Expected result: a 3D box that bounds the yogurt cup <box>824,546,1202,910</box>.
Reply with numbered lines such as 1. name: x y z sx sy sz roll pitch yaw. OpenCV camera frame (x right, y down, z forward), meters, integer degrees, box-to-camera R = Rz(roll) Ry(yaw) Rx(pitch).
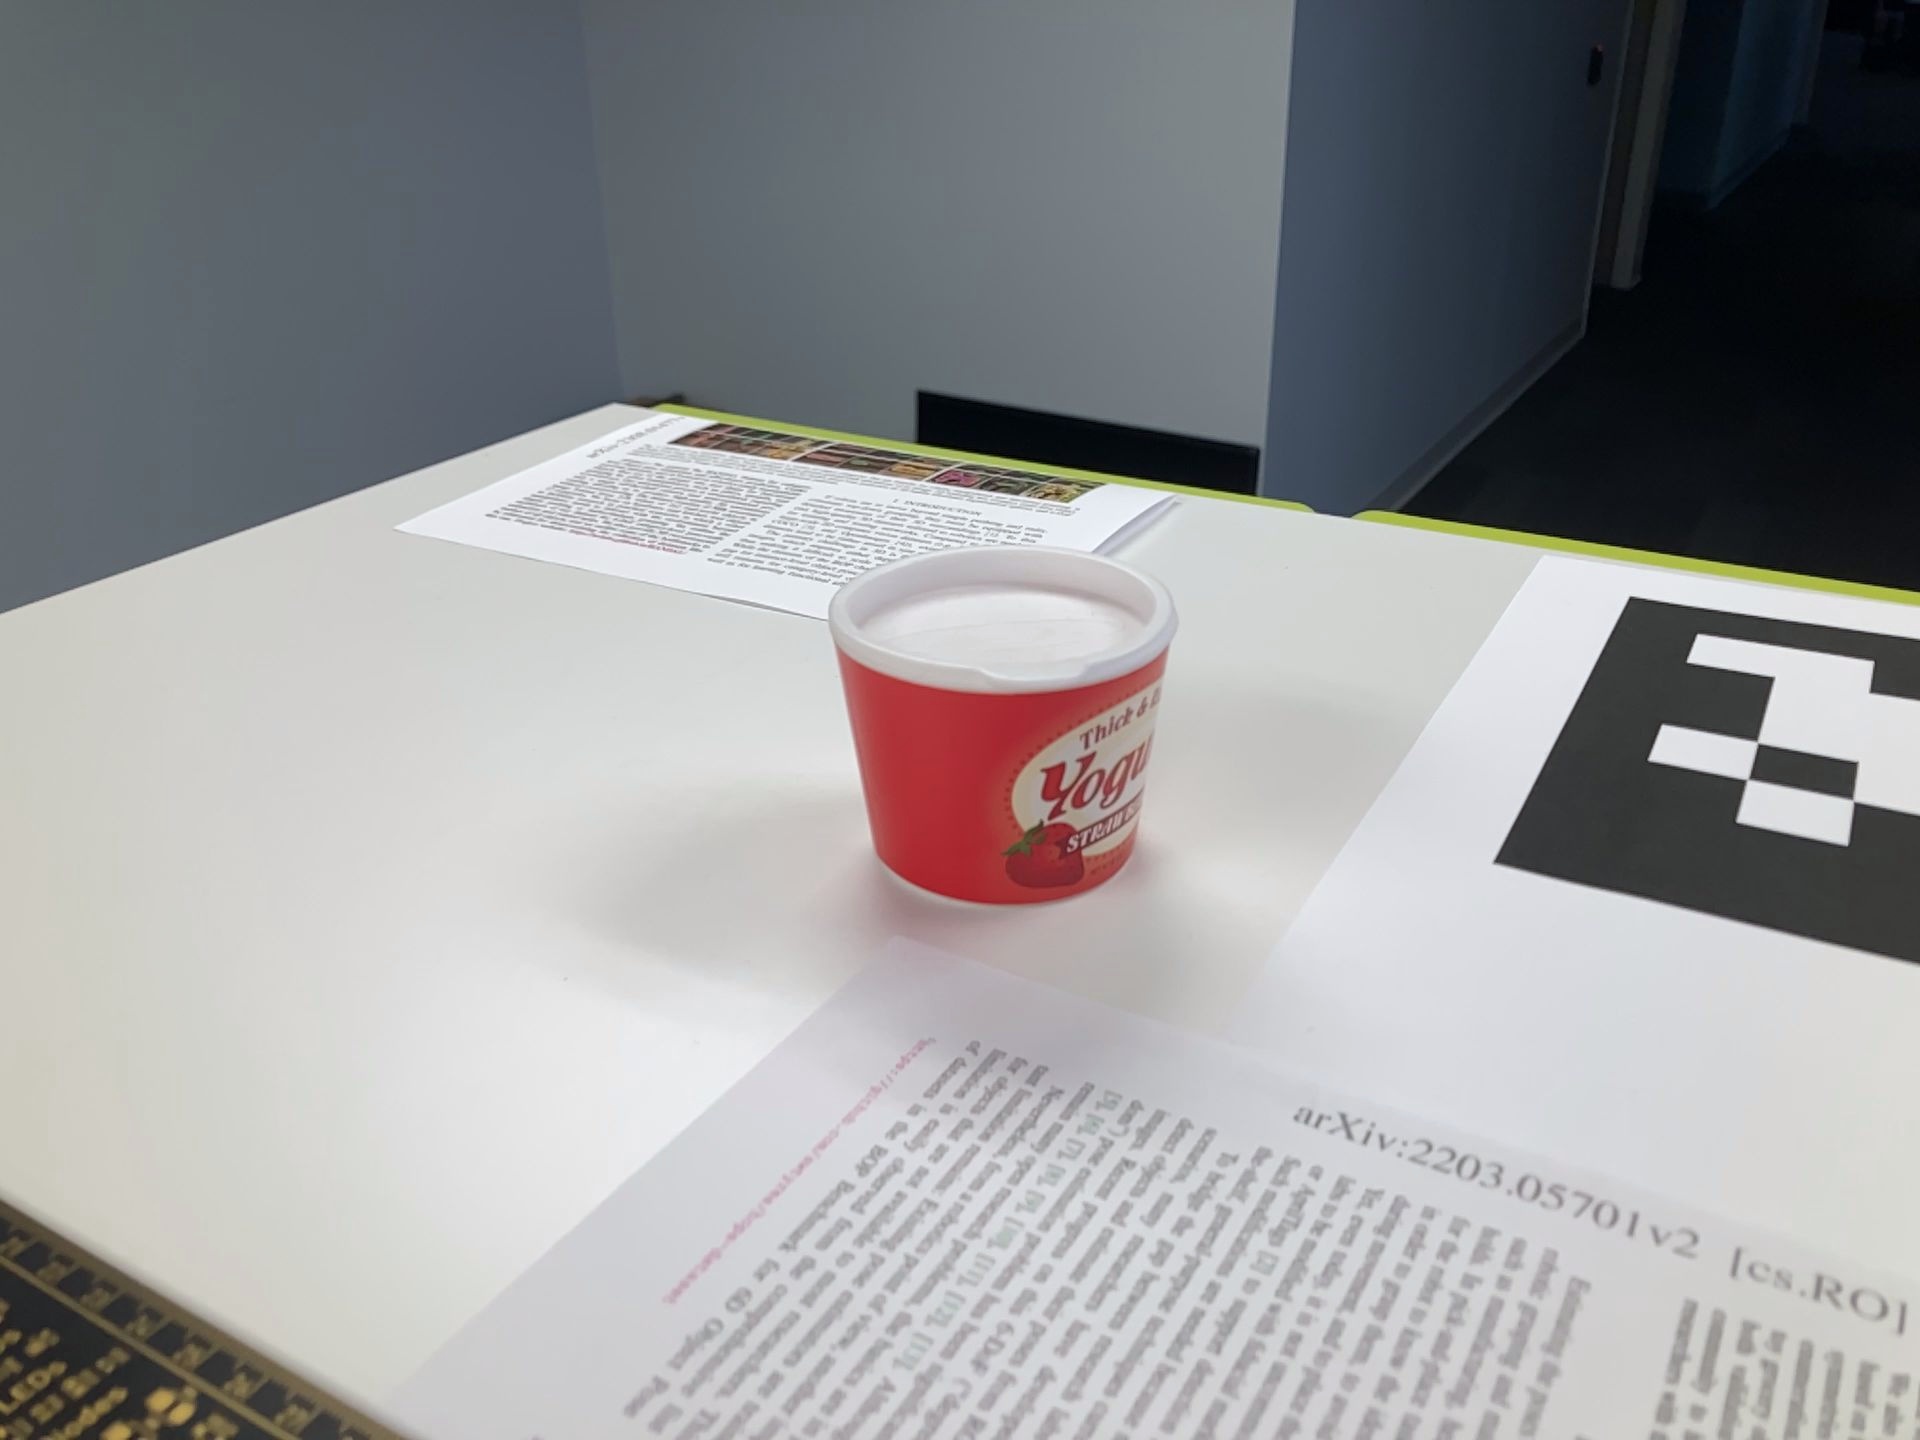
1. yogurt cup: 0.009 0.001 0.314 0.072 0.054 0.072 -1 25 0
